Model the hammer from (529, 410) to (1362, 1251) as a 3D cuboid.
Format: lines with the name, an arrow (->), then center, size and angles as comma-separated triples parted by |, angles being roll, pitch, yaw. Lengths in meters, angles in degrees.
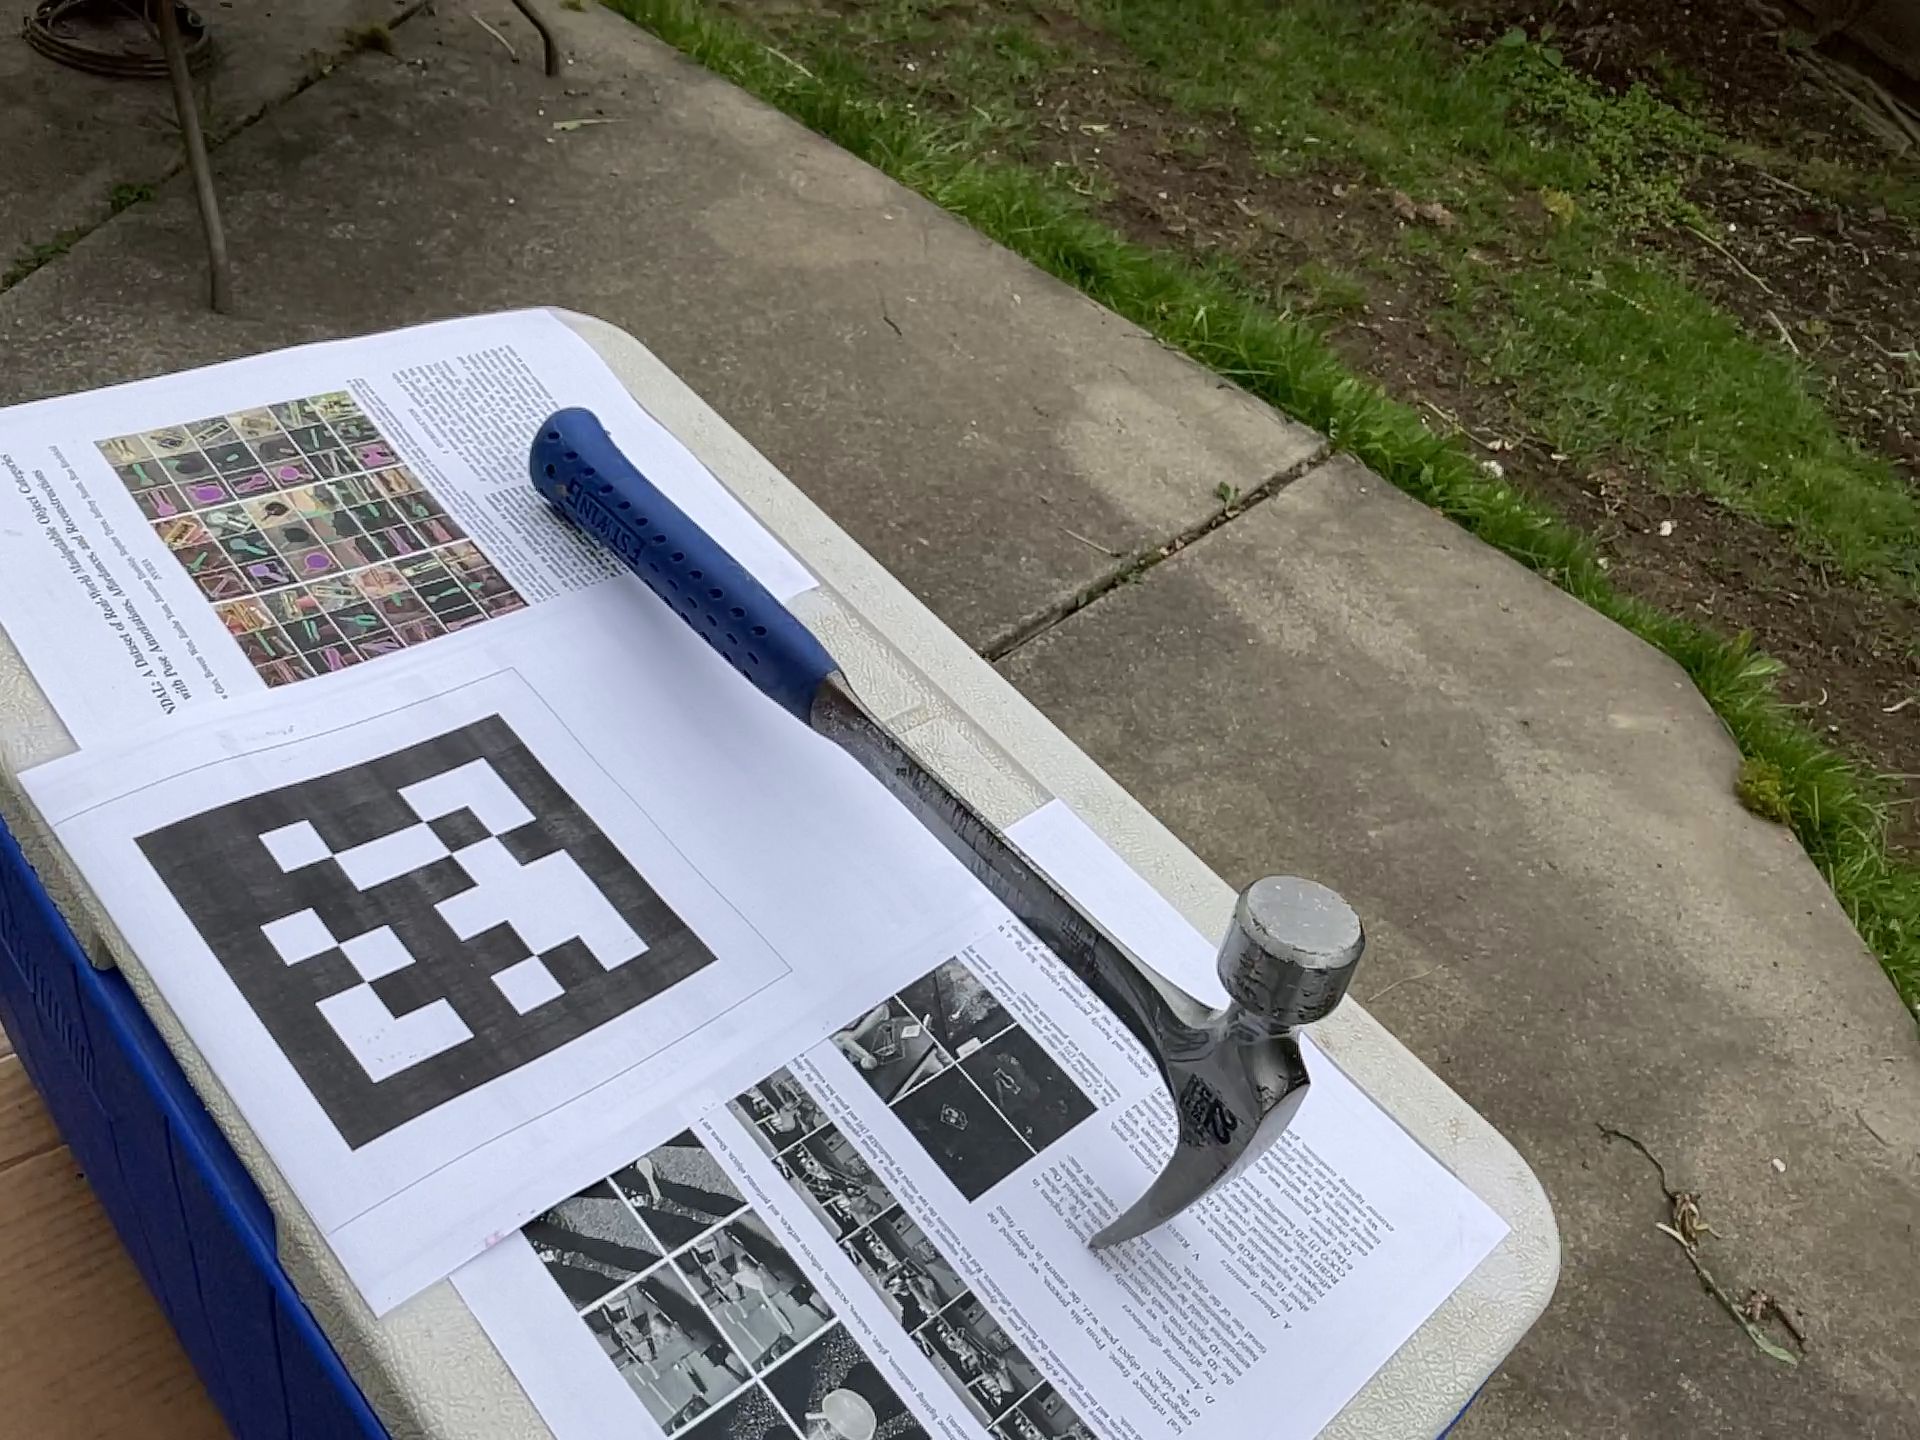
hammer -> -0.041, 0.006, 0.552 | 0.035, 0.144, 0.406 | -17, 45, -37
